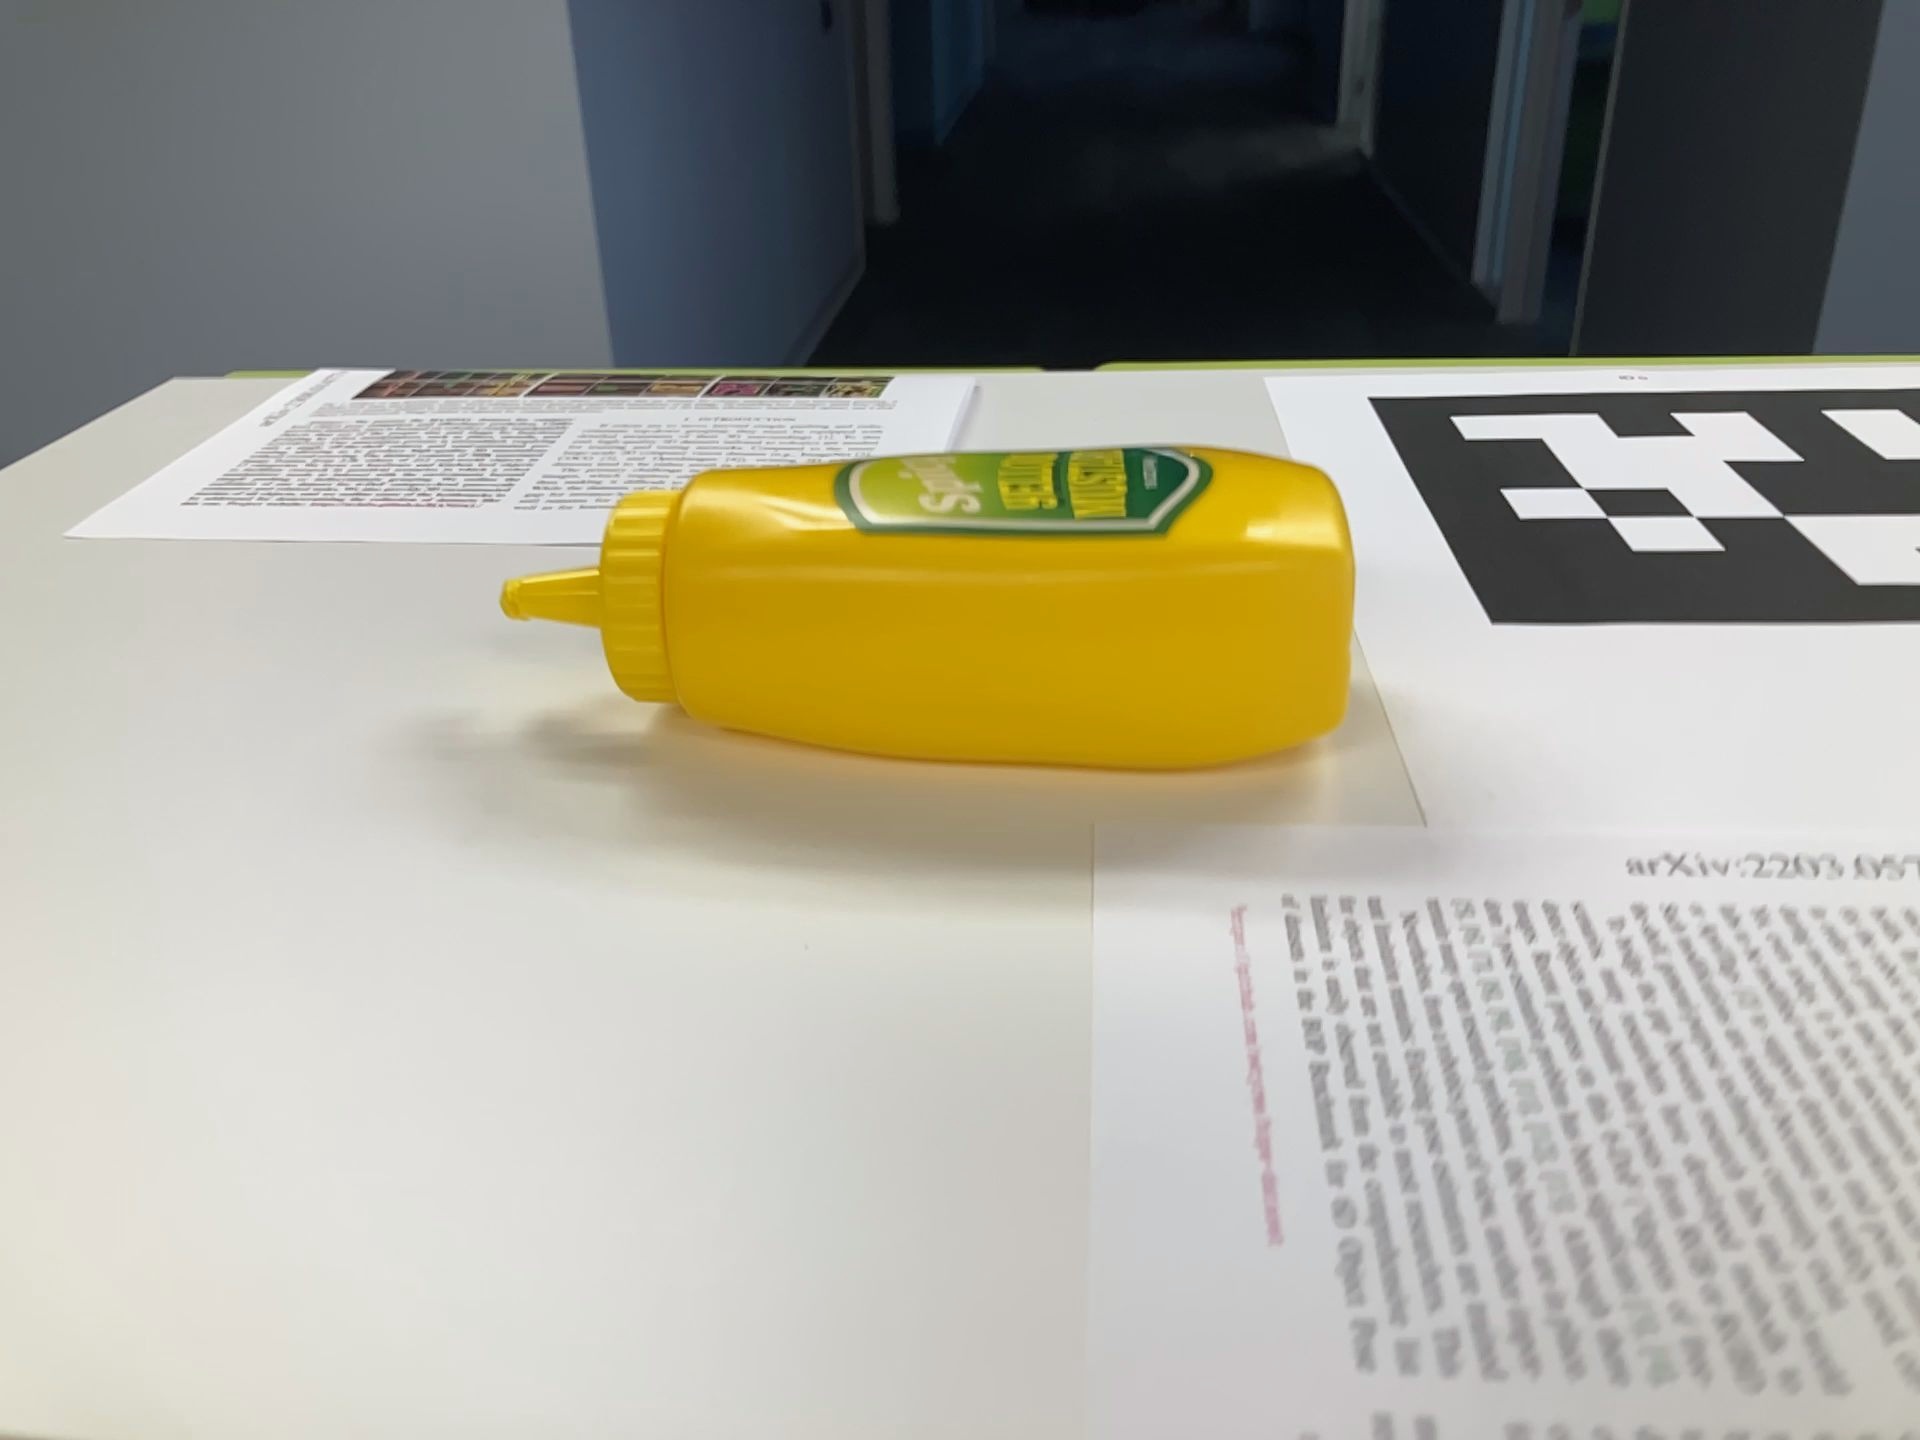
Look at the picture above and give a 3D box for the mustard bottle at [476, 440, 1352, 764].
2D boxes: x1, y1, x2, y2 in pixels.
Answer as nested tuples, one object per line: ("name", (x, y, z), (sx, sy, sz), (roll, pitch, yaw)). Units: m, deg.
("mustard bottle", (-0.012, -0.023, 0.290), (0.160, 0.049, 0.065), (0, 26, 5))
